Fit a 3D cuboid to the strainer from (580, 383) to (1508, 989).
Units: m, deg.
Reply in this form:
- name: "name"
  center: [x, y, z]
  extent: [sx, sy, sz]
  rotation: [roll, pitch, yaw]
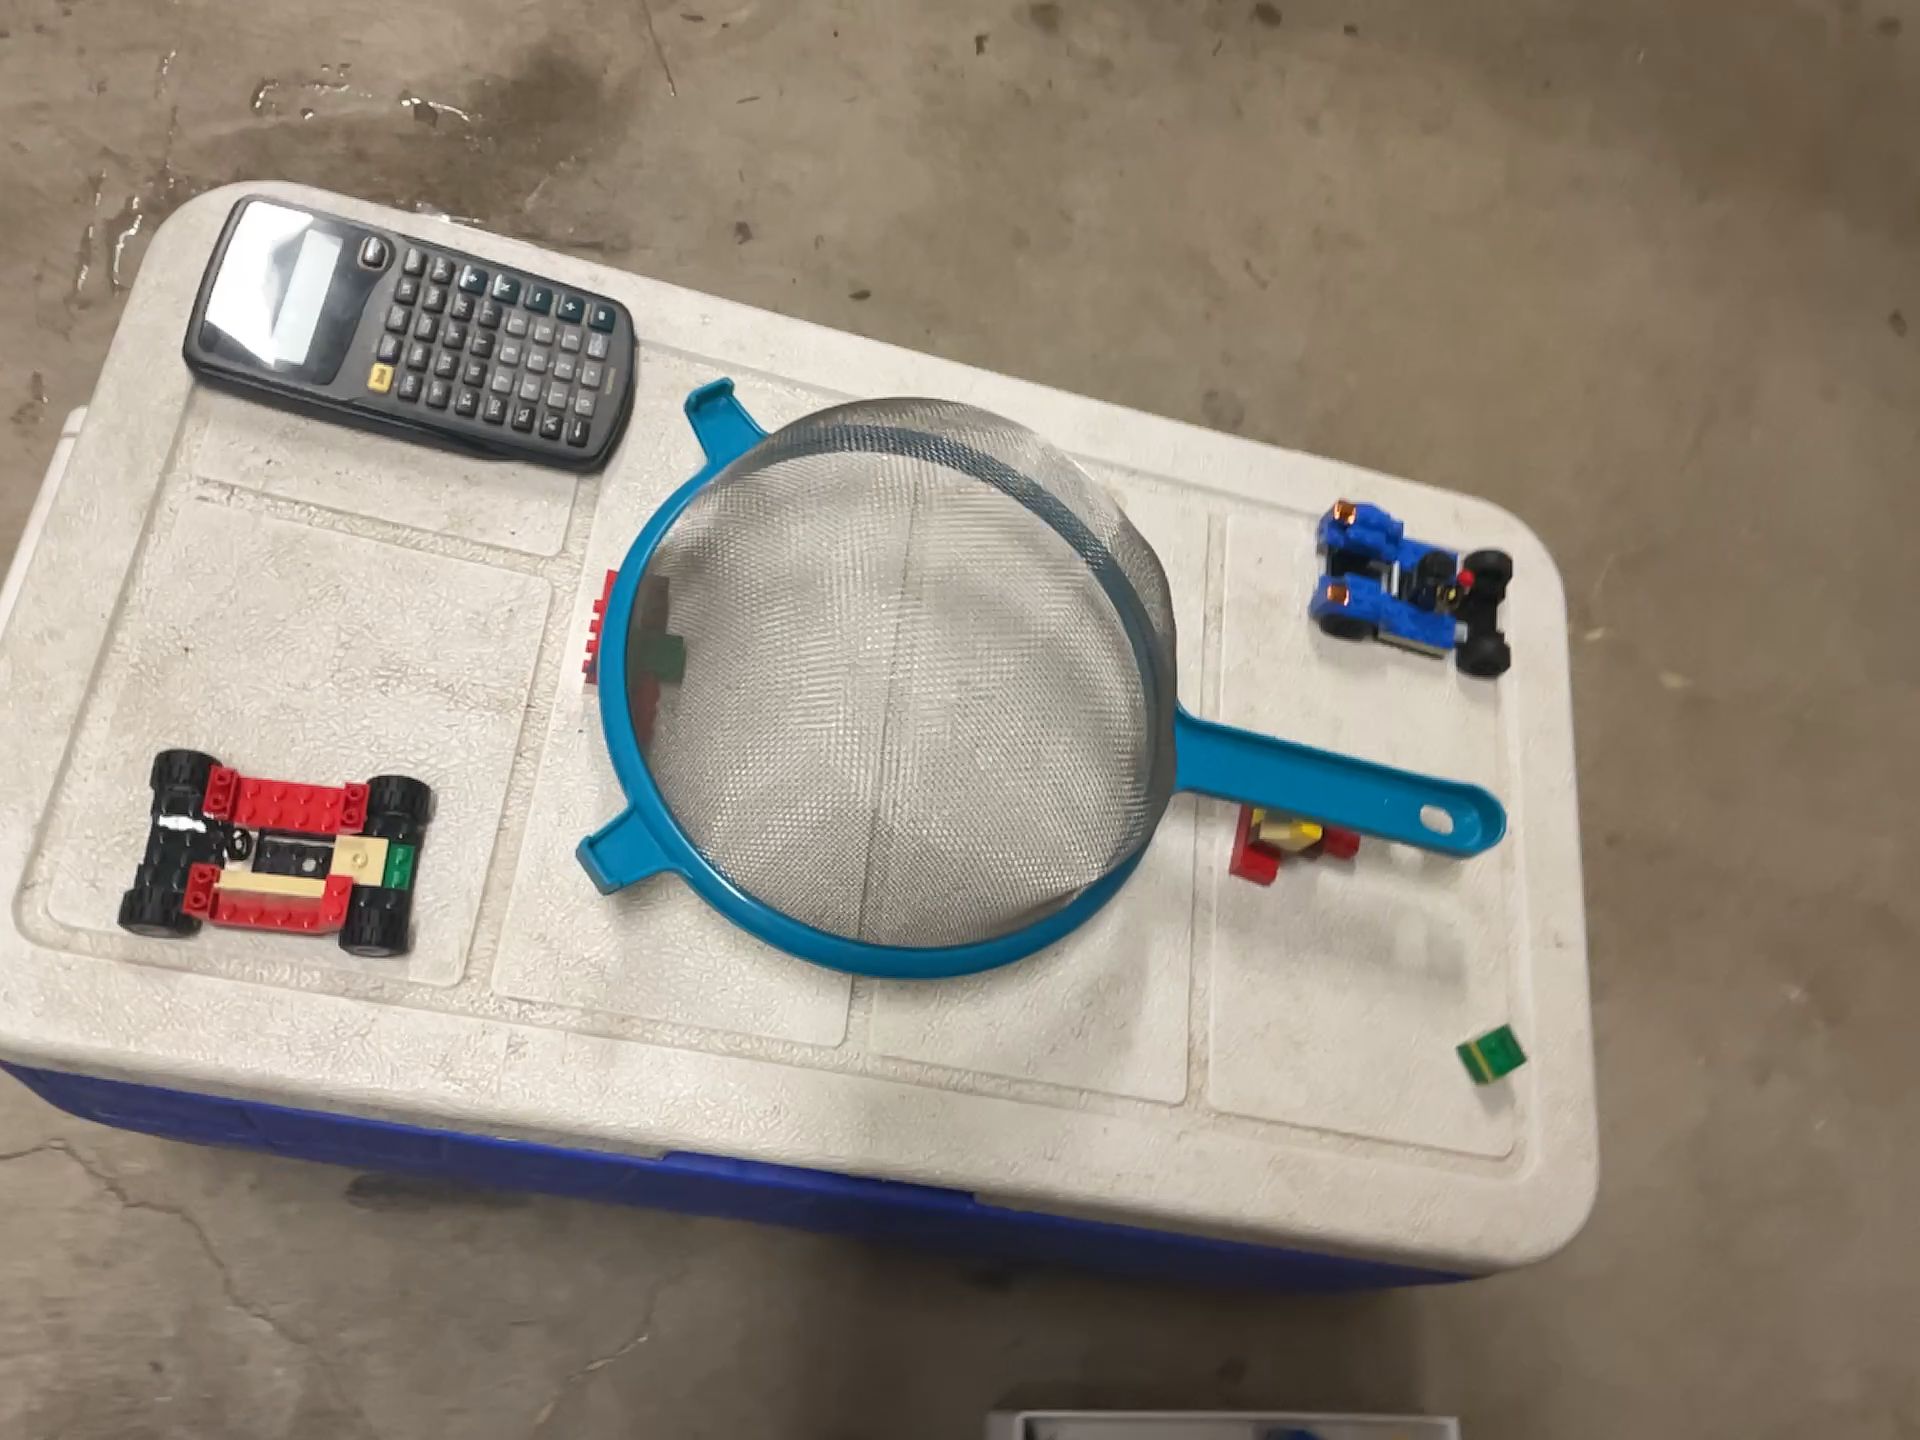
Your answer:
- name: "strainer"
  center: [0.053, -0.009, 0.542]
  extent: [0.340, 0.095, 0.211]
  rotation: [13, 66, -12]
